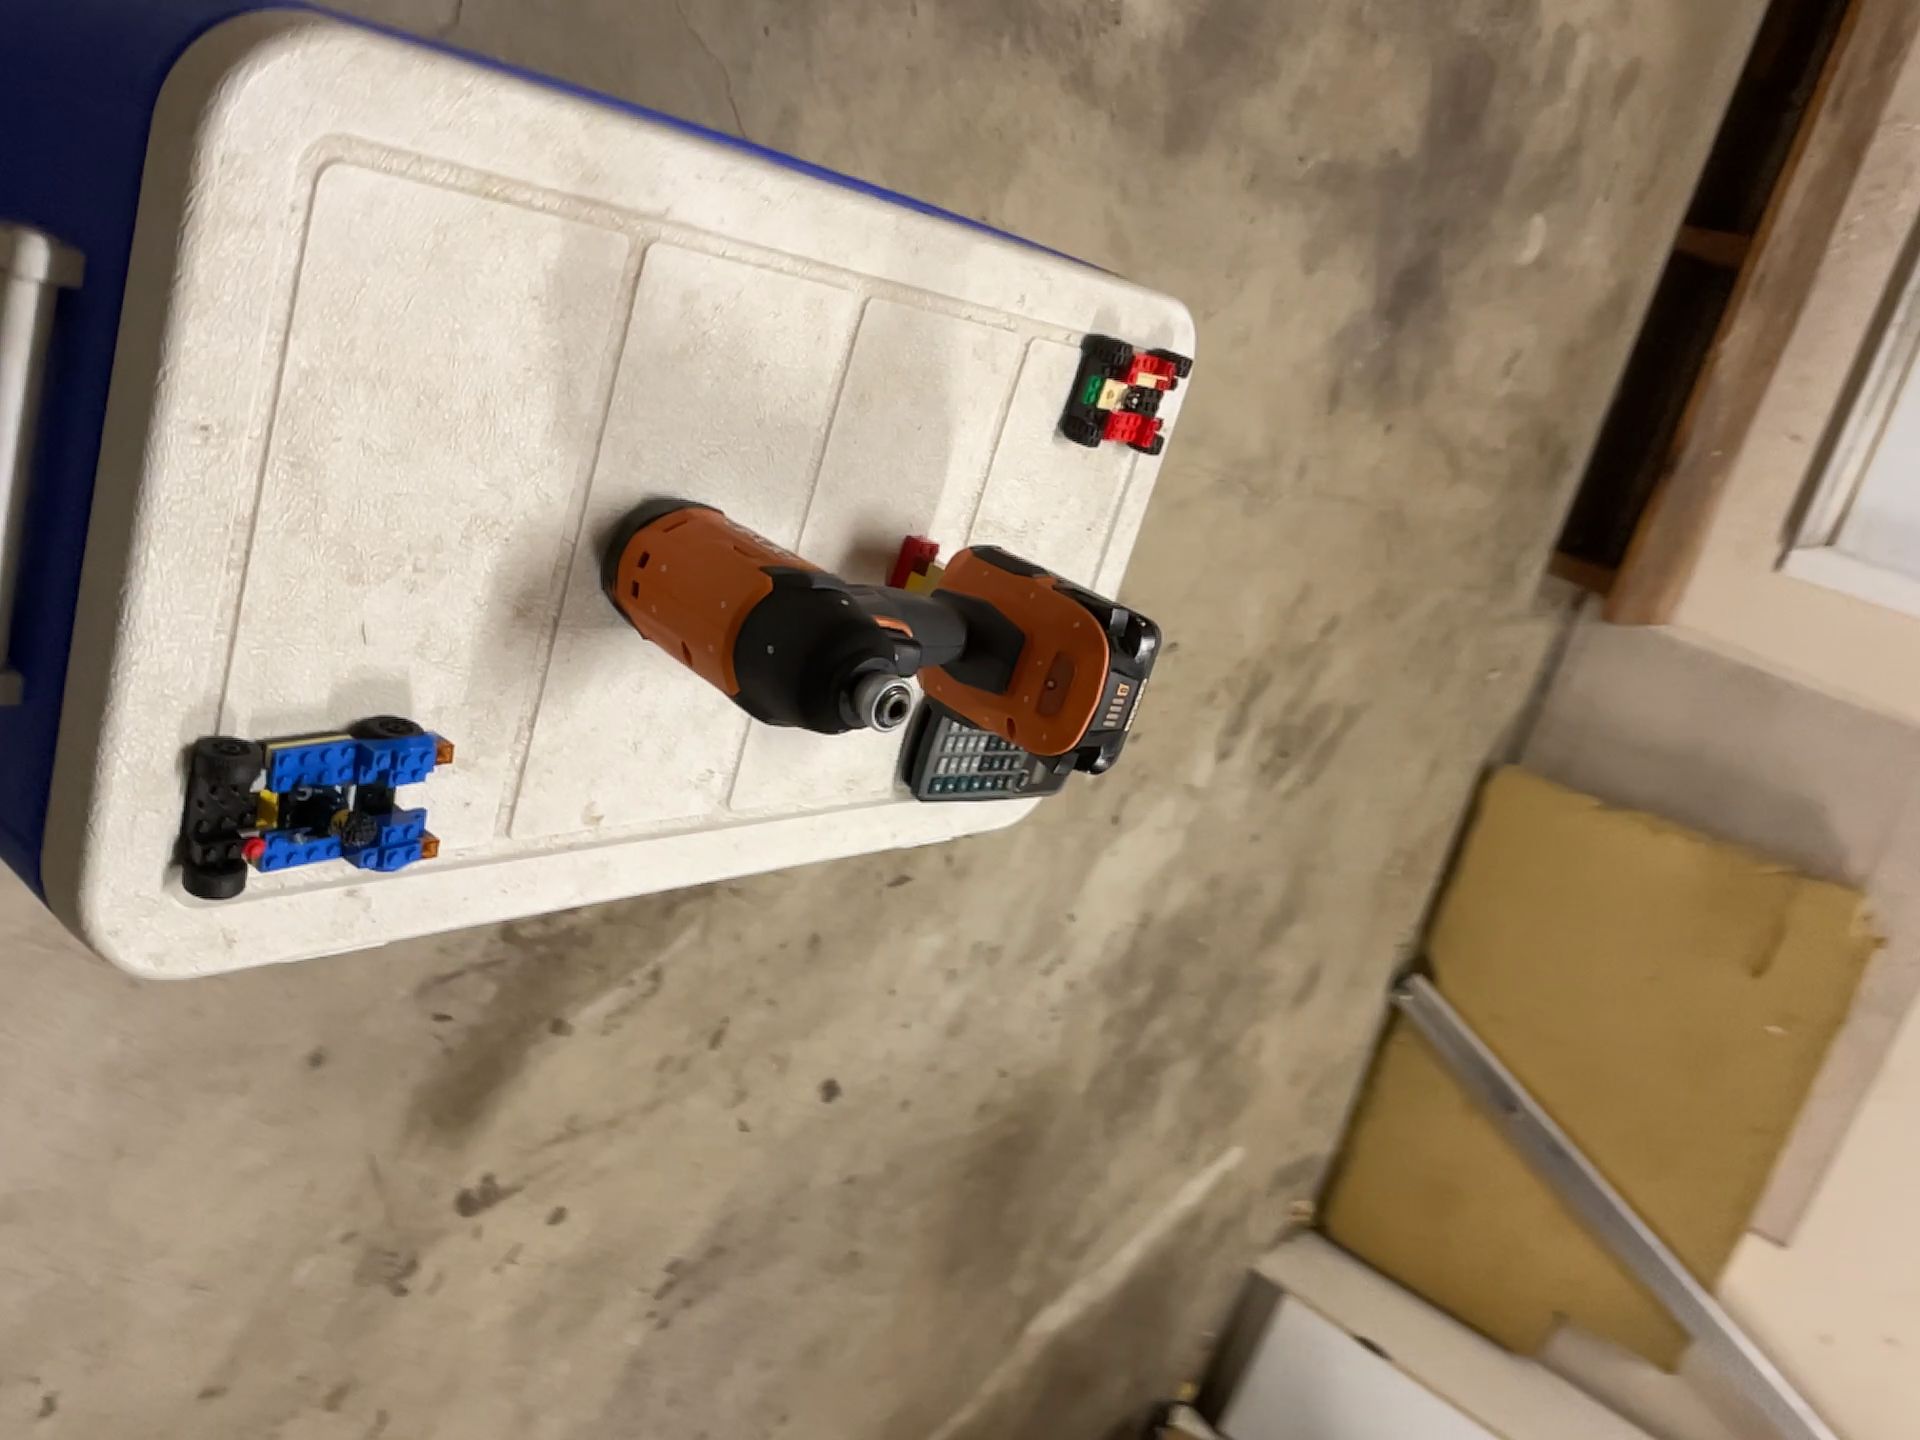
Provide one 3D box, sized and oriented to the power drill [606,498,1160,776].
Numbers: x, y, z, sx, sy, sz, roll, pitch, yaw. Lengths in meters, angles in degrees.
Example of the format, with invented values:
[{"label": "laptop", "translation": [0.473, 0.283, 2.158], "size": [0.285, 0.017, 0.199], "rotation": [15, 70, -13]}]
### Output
[{"label": "power drill", "translation": [-0.018, -0.030, 0.690], "size": [0.226, 0.164, 0.084], "rotation": [6, 110, -44]}]
